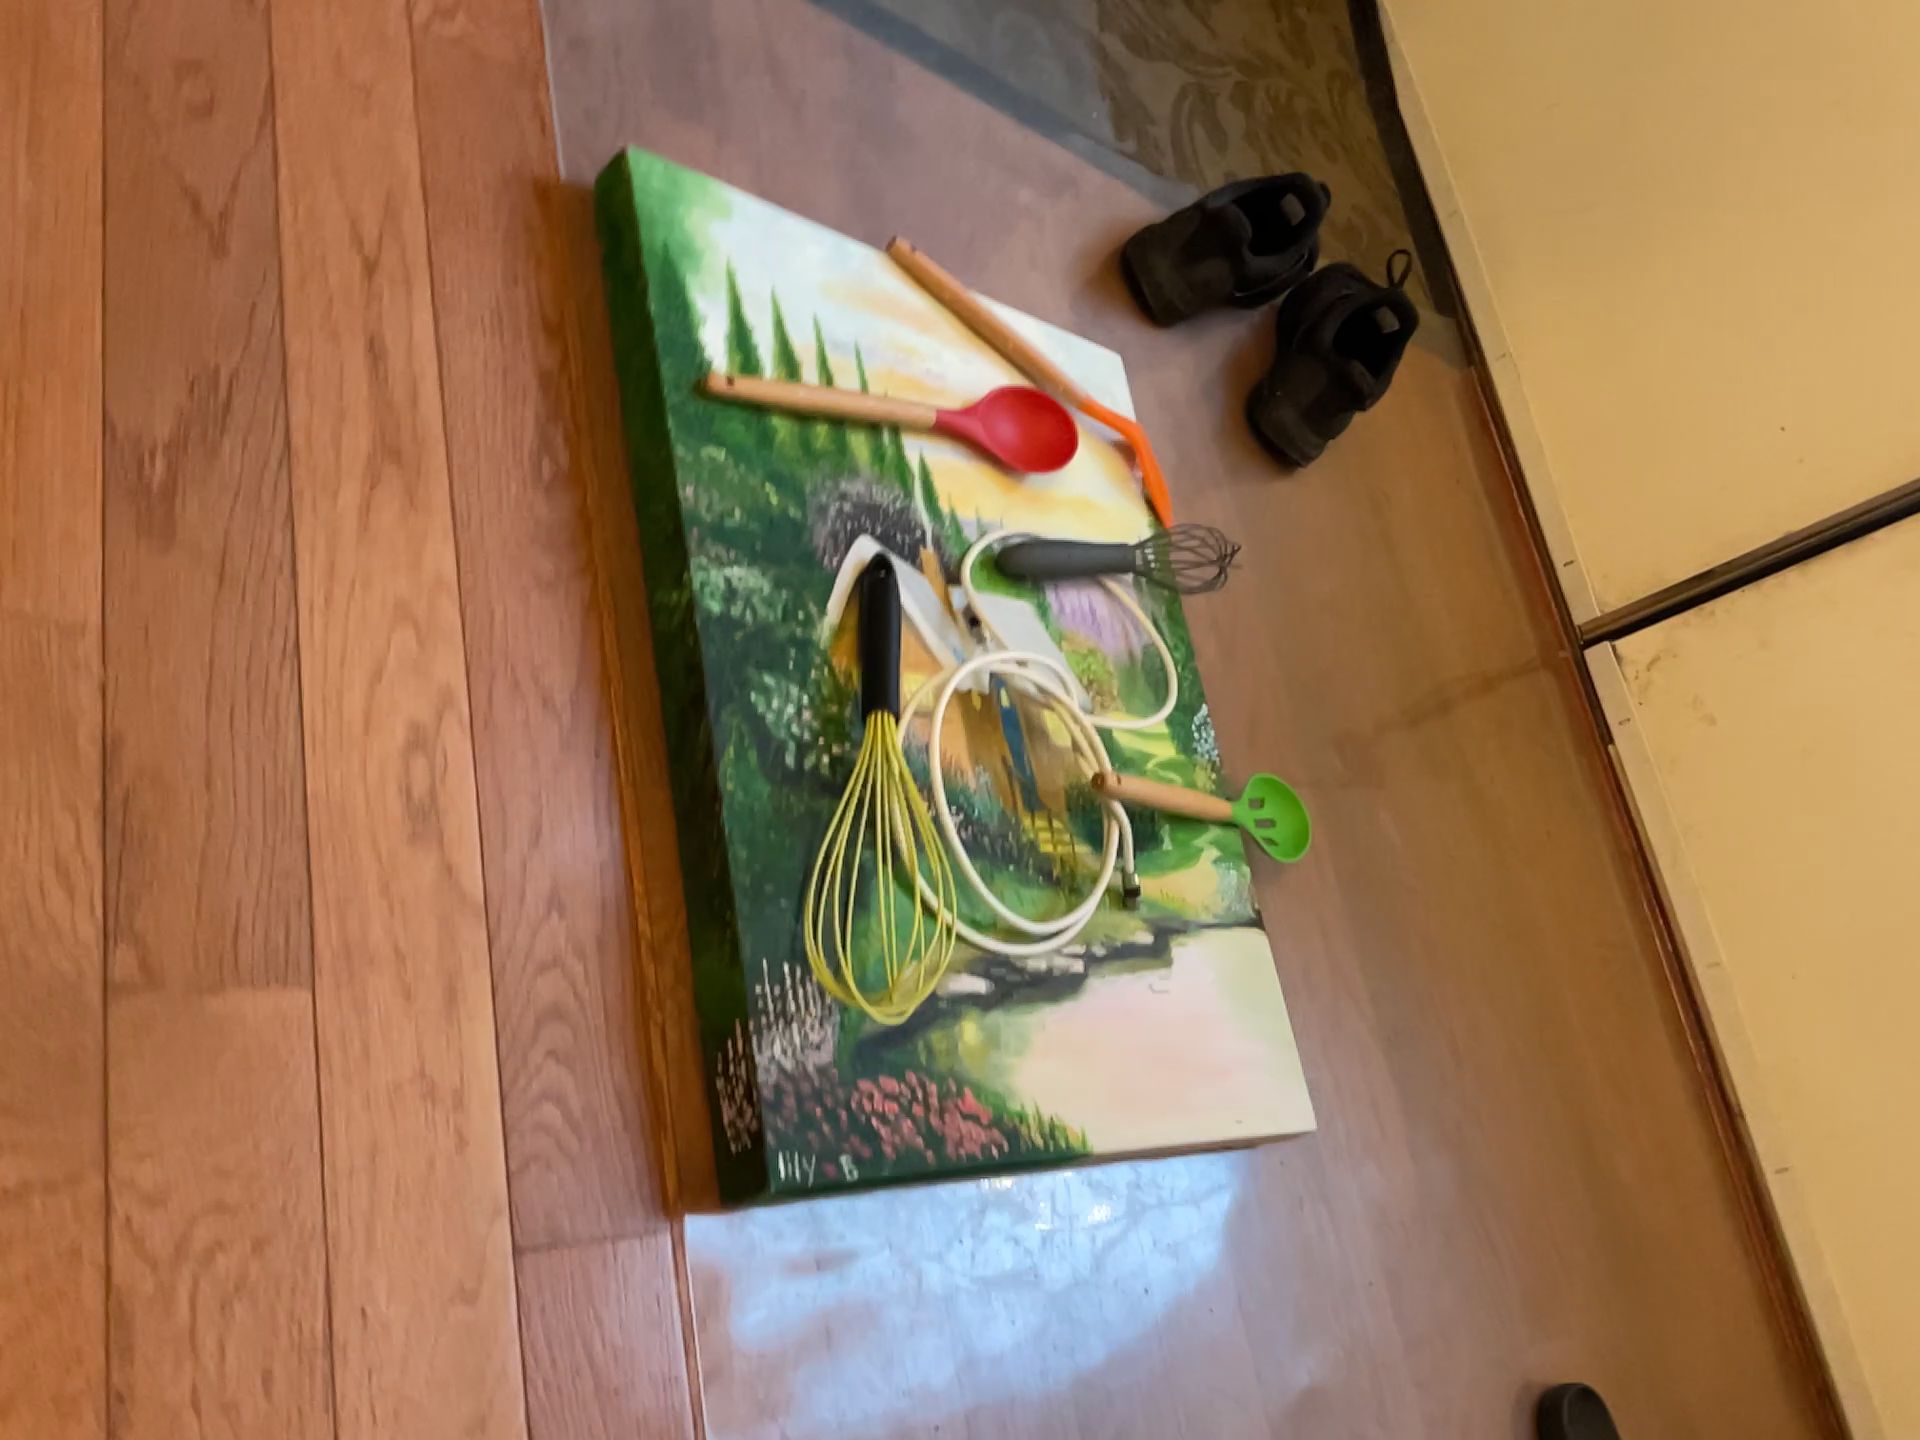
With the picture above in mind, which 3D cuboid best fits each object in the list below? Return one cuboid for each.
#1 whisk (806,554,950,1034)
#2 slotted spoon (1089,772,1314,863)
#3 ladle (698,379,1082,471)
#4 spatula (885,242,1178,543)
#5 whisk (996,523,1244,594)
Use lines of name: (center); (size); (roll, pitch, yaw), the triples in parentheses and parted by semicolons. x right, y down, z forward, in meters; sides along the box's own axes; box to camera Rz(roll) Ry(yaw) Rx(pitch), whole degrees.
whisk: (-0.045, 0.028, 0.879); (0.079, 0.067, 0.312); (32, 43, -38)
slotted spoon: (0.169, 0.058, 1.091); (0.313, 0.031, 0.070); (14, 59, -55)
ladle: (-0.037, -0.199, 1.031); (0.315, 0.031, 0.069); (-4, 70, -44)
spatula: (0.066, -0.244, 1.177); (0.322, 0.041, 0.081); (33, 37, -27)
whisk: (0.117, -0.114, 1.129); (0.238, 0.055, 0.055); (-5, 62, -41)
